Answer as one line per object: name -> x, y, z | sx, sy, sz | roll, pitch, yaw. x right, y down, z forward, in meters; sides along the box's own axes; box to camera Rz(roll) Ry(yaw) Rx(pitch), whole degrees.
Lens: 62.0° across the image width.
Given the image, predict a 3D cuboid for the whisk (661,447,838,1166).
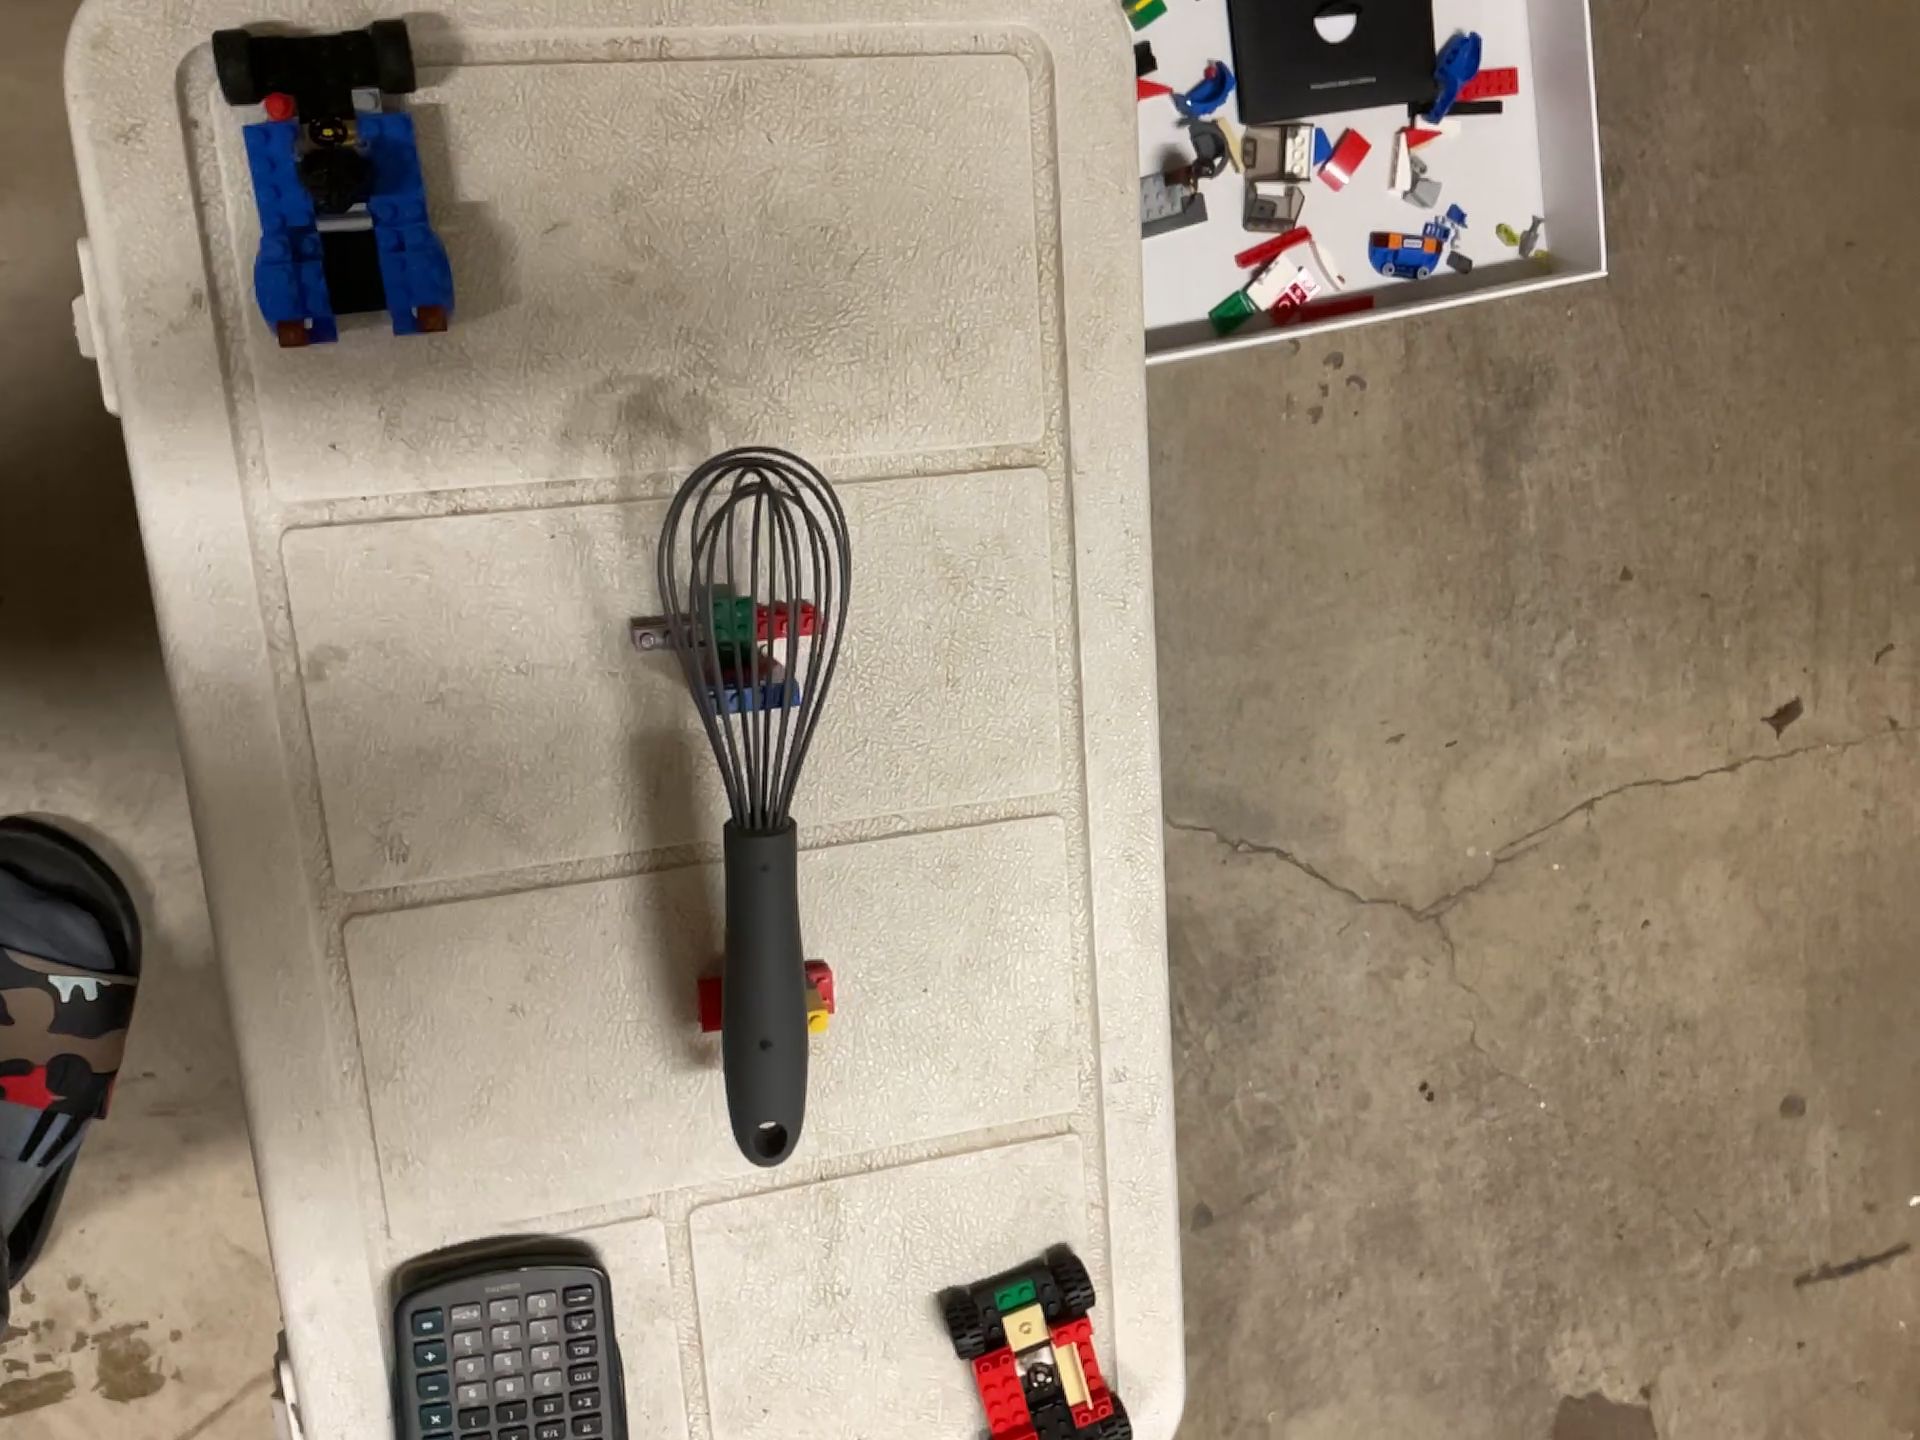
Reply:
whisk -> -0.065, 0.034, 0.501 | 0.055, 0.055, 0.239 | -3, 107, -13
